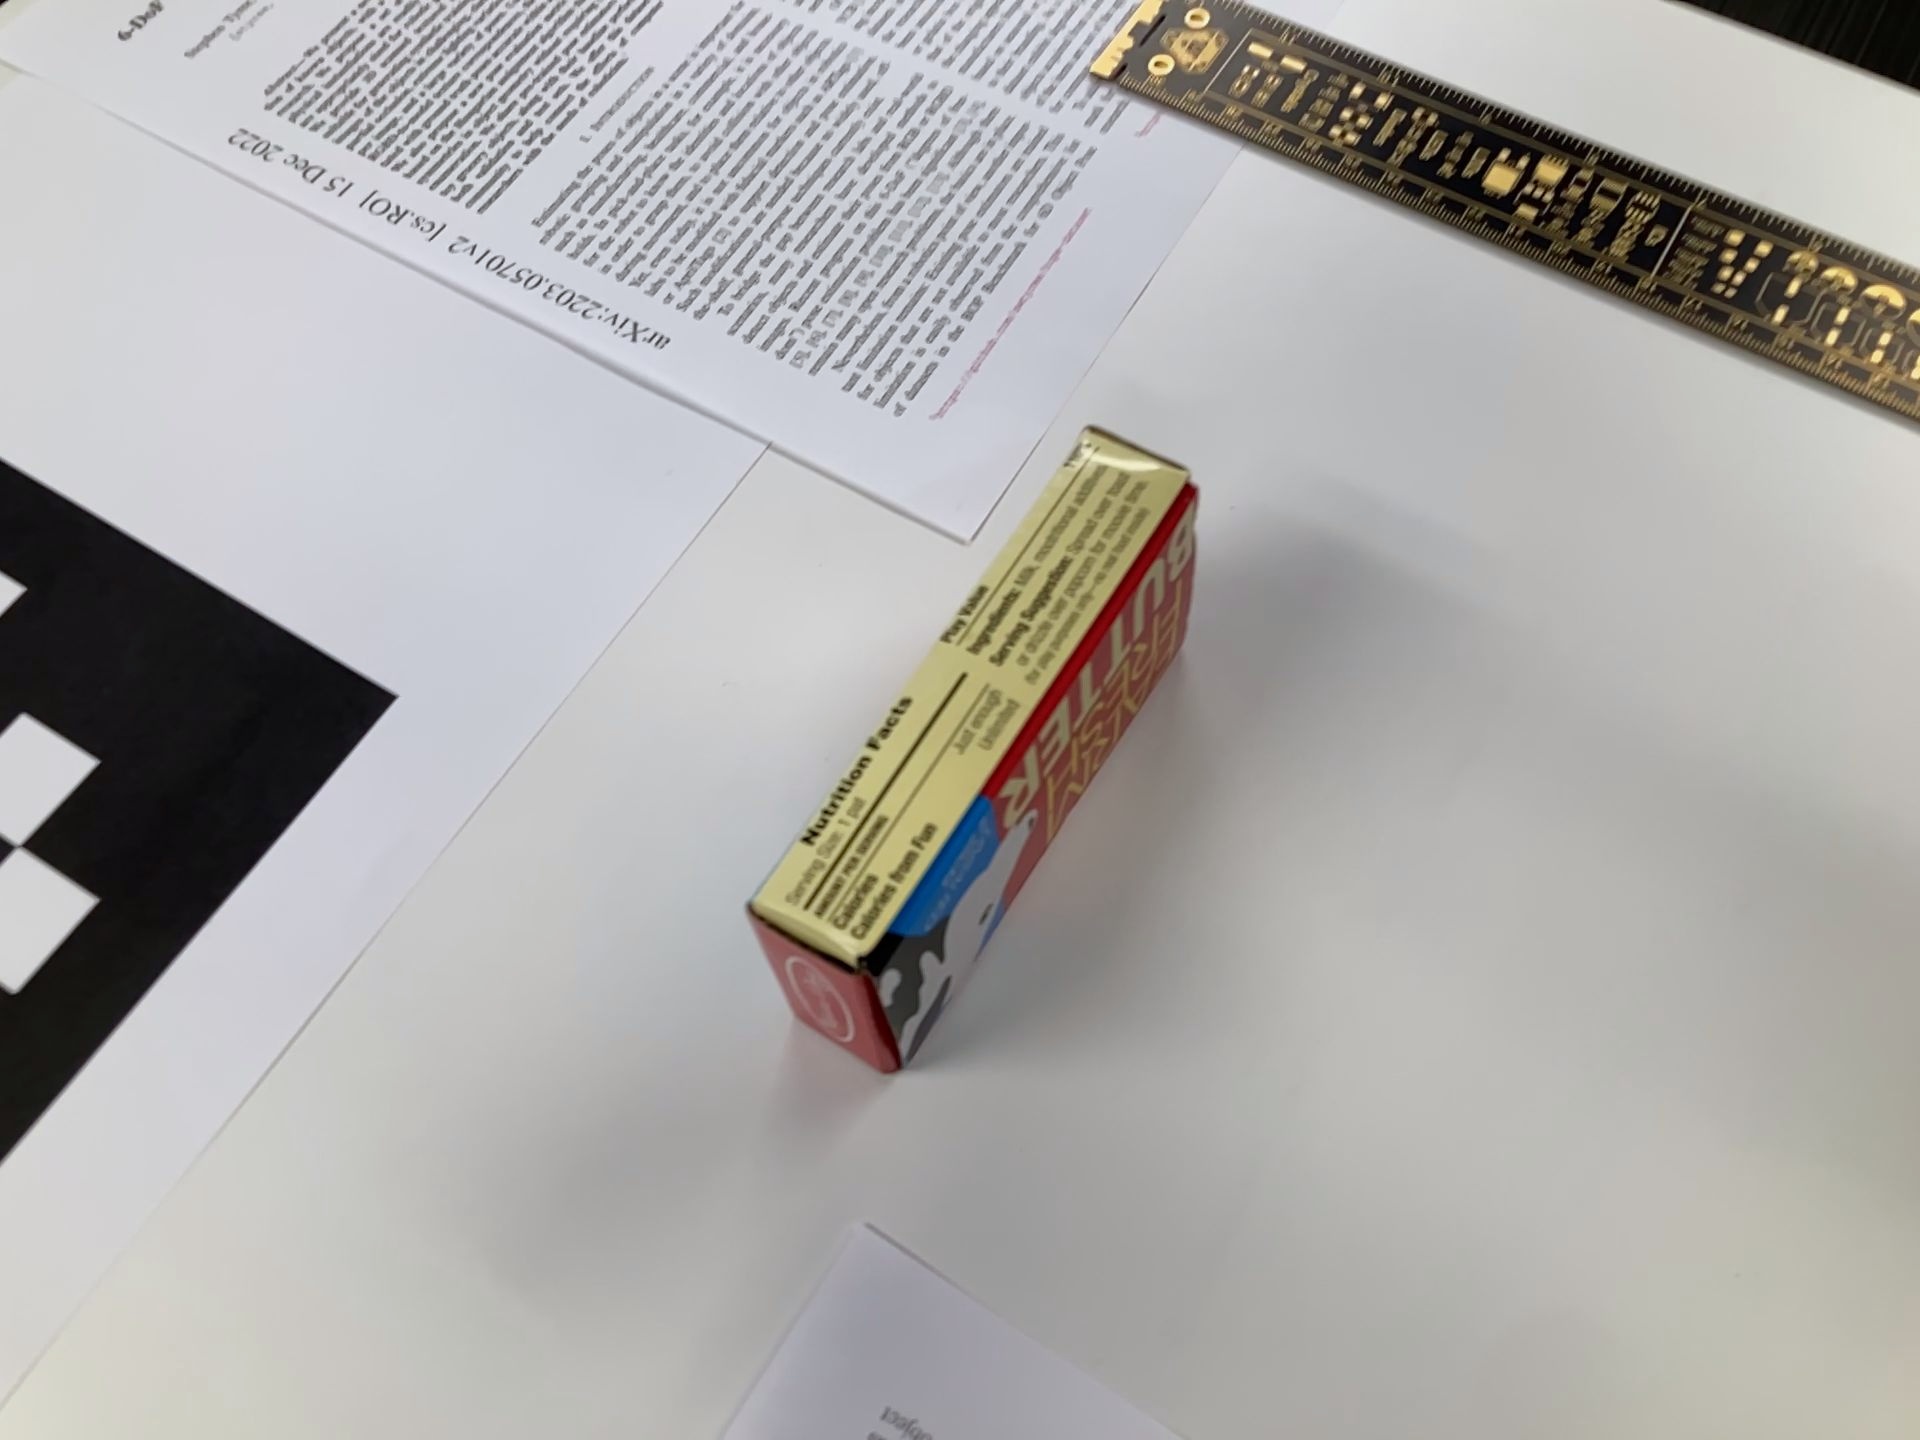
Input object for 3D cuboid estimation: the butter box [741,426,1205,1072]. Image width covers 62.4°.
[{"bbox_3d":[0.006,0.005,0.267,0.024,0.053,0.103,28,67,17],"label":"butter box"}]
